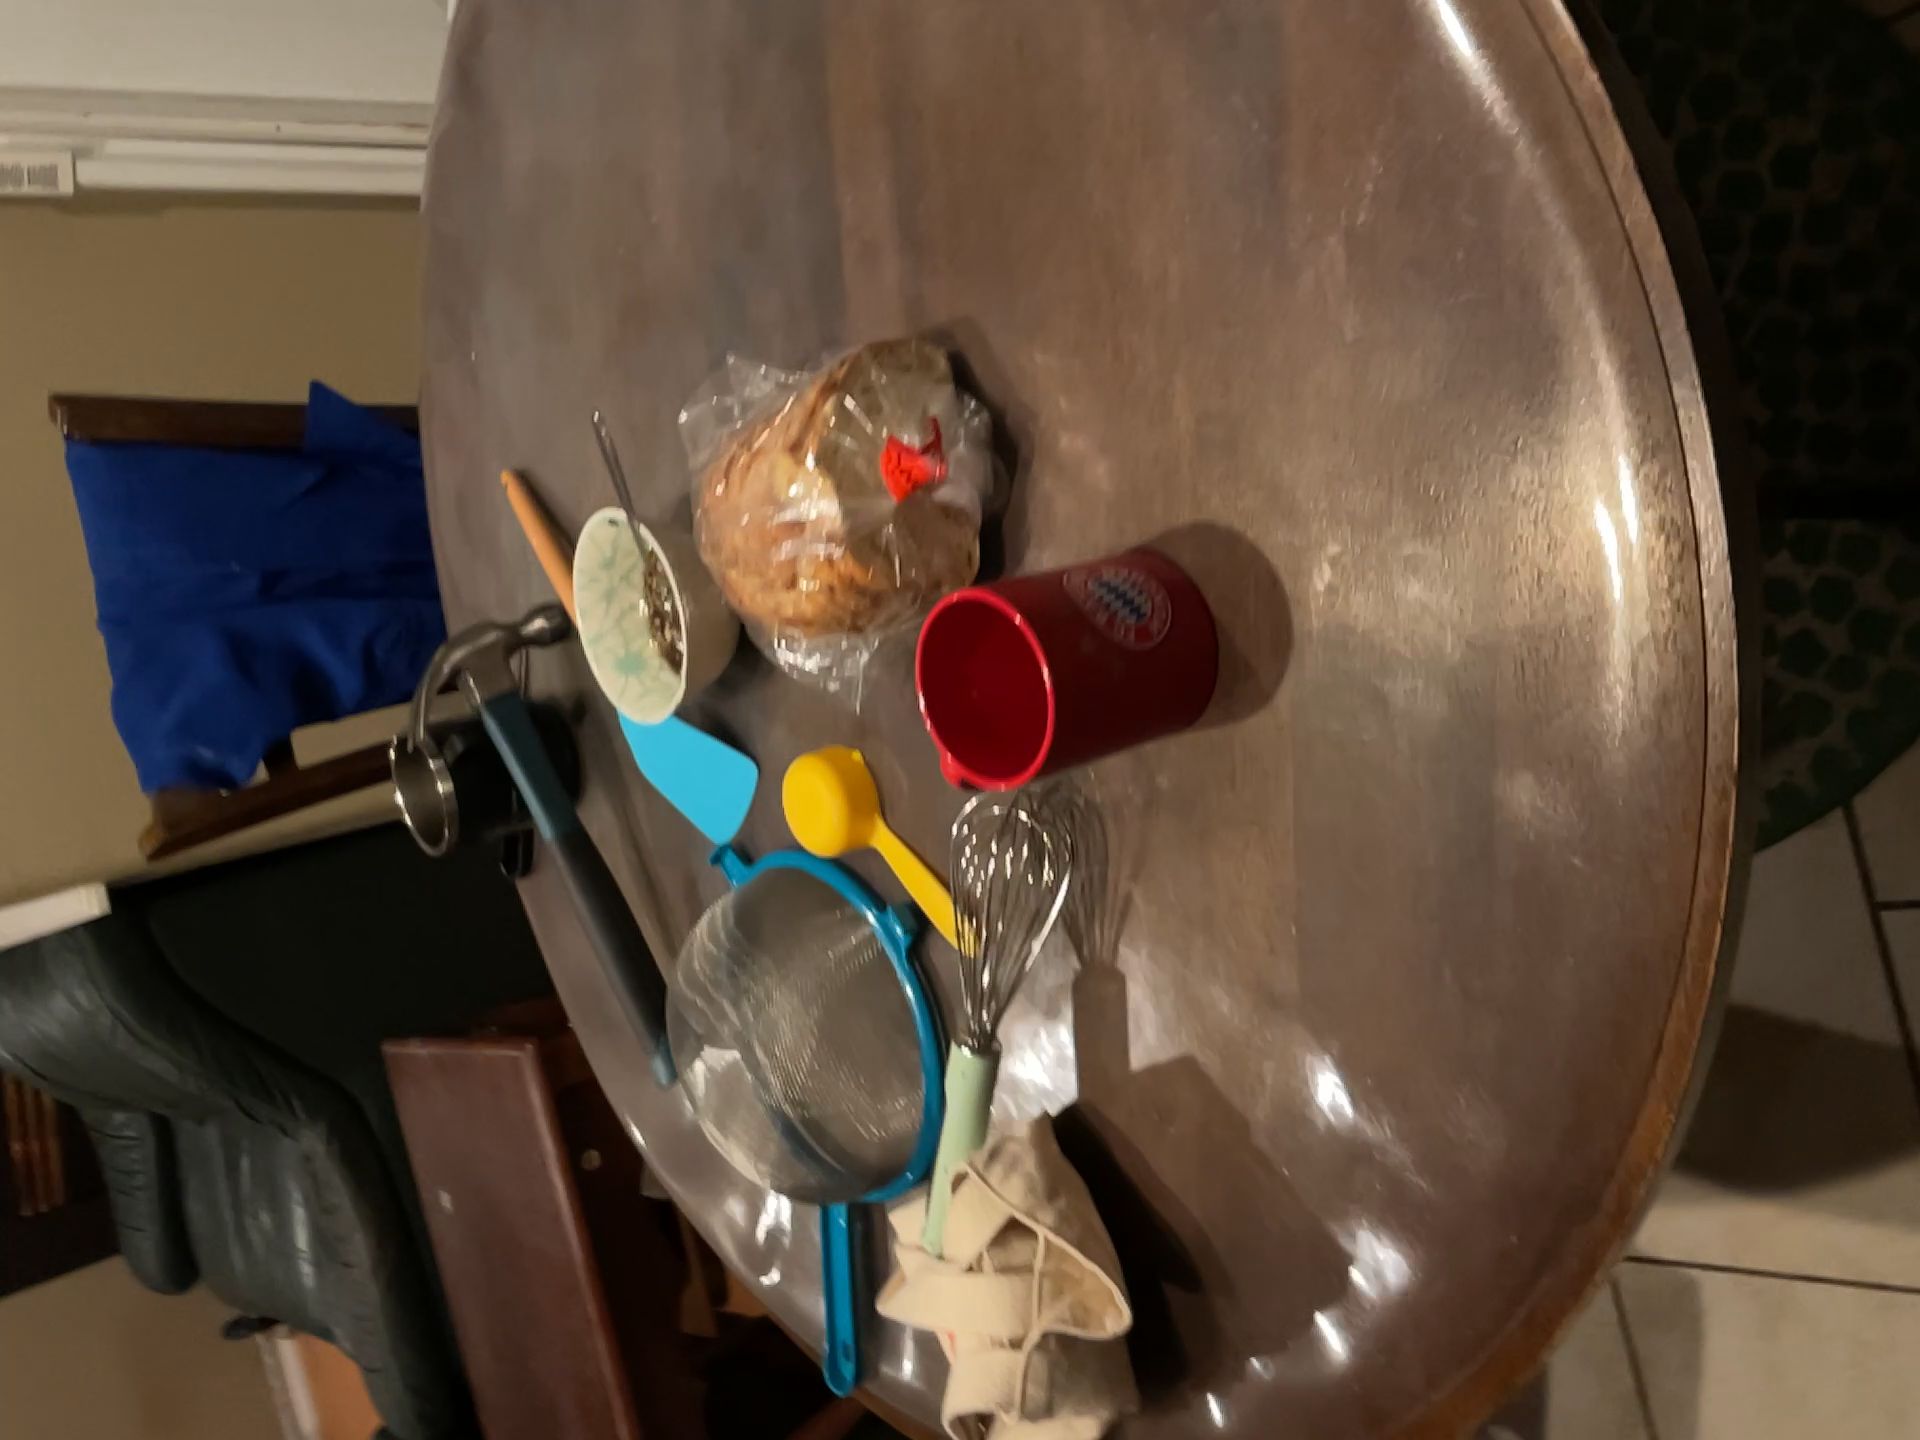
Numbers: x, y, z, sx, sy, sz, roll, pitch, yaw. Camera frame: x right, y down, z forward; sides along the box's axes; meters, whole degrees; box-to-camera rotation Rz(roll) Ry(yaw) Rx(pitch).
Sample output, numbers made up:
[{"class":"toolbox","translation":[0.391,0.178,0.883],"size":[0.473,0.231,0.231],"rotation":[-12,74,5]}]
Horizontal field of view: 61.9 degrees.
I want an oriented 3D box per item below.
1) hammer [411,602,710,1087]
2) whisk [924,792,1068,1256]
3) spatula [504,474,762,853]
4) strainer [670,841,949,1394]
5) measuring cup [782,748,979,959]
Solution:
[{"class":"hammer","translation":[-0.255,0.088,1.069],"size":[0.033,0.128,0.331],"rotation":[-29,88,54]},{"class":"whisk","translation":[0.009,0.151,0.773],"size":[0.059,0.058,0.246],"rotation":[13,105,15]},{"class":"spatula","translation":[-0.223,-0.052,1.036],"size":[0.318,0.044,0.082],"rotation":[56,139,28]},{"class":"strainer","translation":[-0.104,0.248,0.931],"size":[0.211,0.095,0.340],"rotation":[11,106,49]},{"class":"measuring cup","translation":[-0.045,0.075,0.851],"size":[0.157,0.029,0.062],"rotation":[45,133,34]}]
